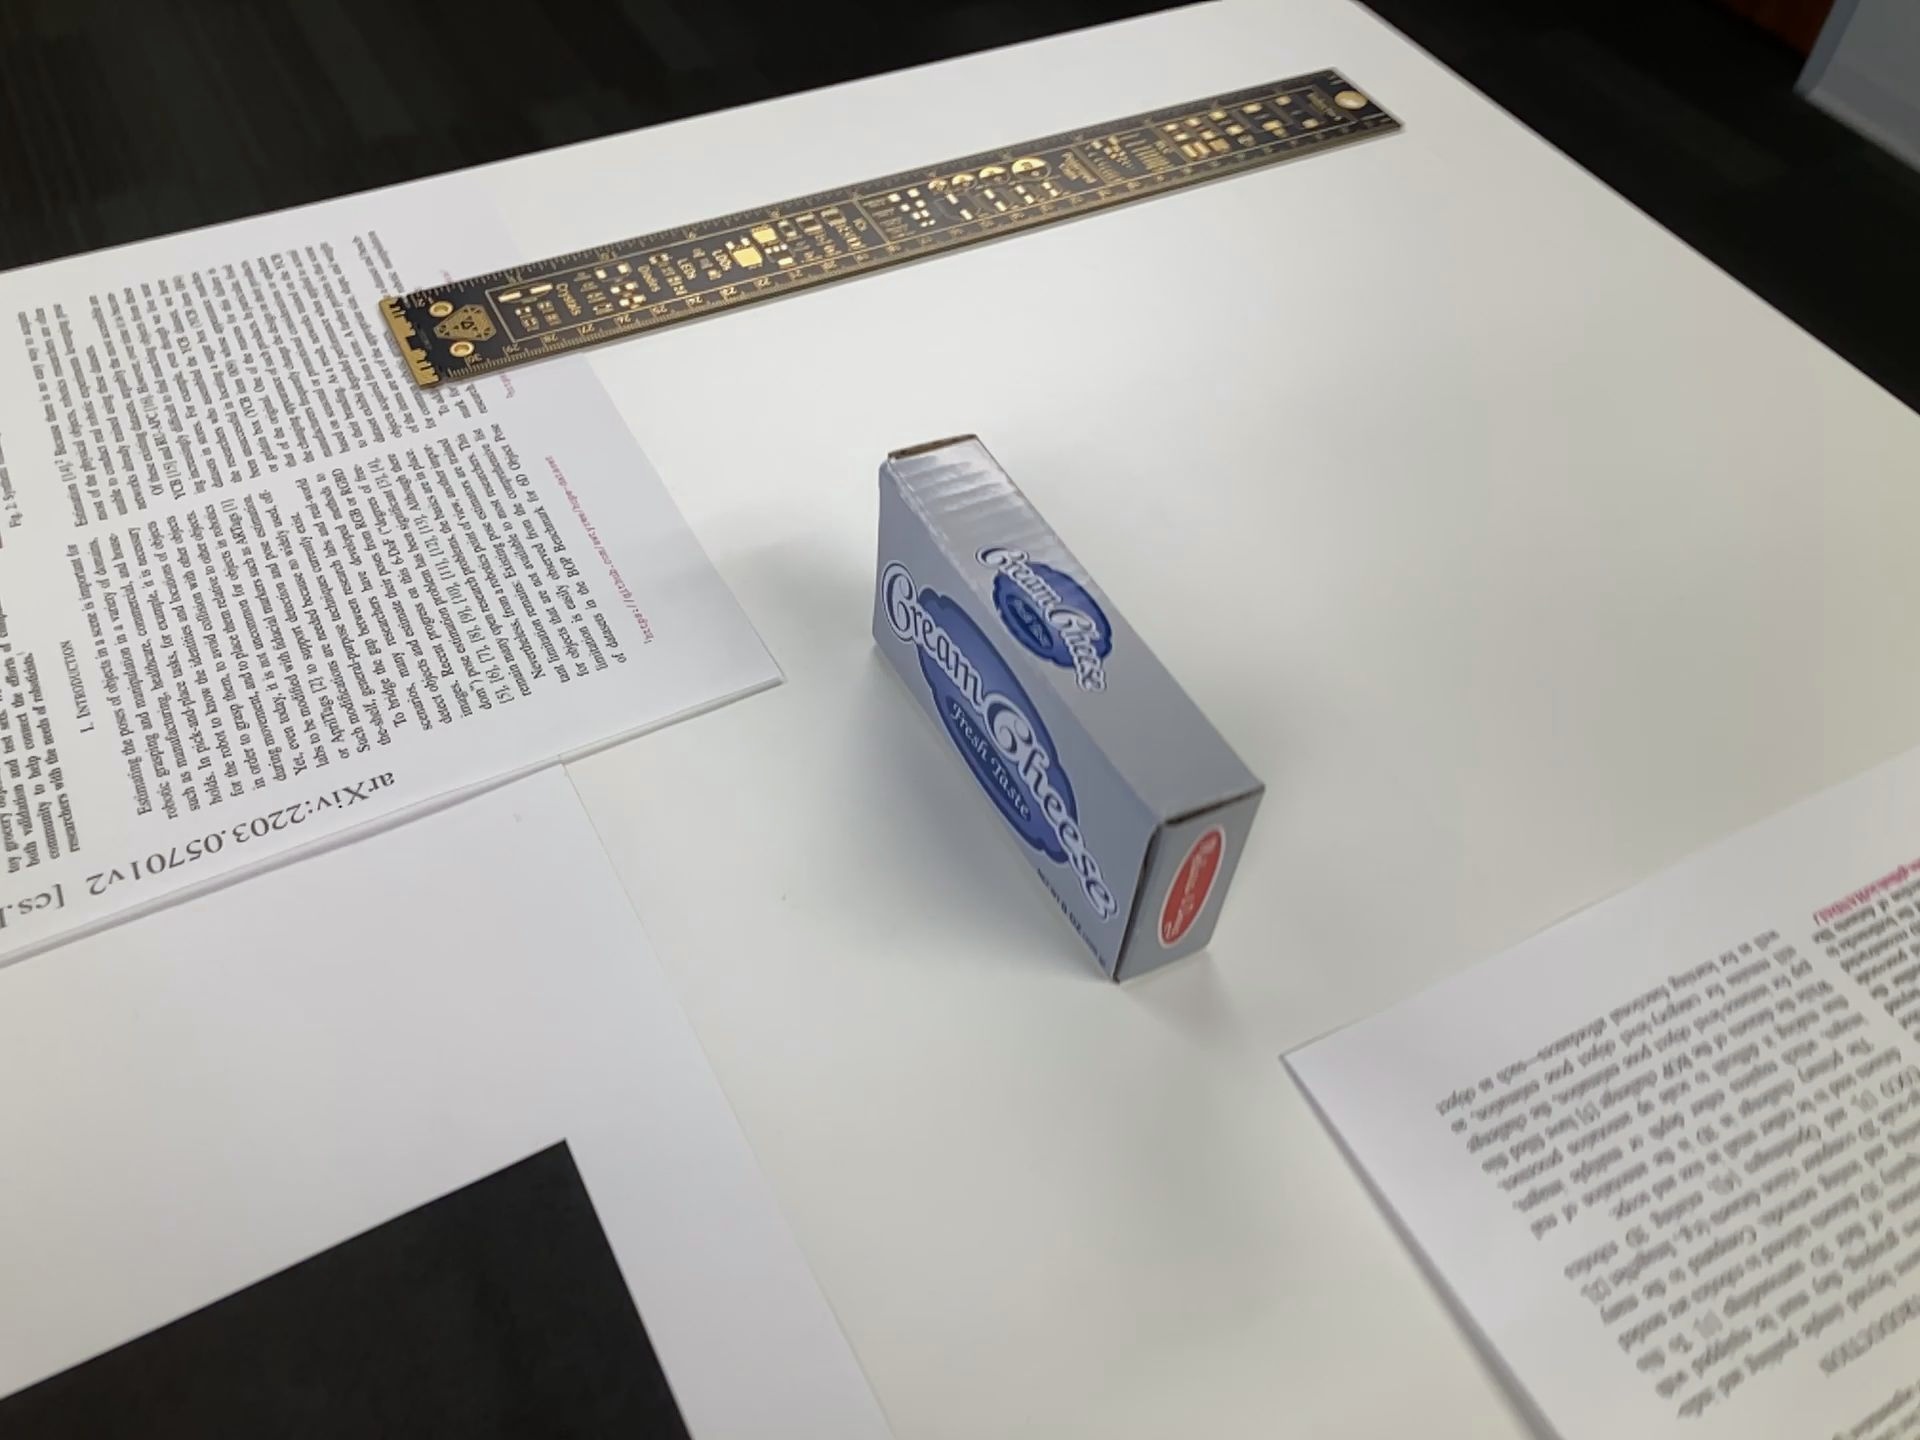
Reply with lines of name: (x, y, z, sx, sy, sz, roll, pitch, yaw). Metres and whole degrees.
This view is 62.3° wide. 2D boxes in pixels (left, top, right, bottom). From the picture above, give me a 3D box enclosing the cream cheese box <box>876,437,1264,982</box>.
cream cheese box: (0.016, -0.004, 0.317, 0.024, 0.053, 0.104, -20, 55, -22)
